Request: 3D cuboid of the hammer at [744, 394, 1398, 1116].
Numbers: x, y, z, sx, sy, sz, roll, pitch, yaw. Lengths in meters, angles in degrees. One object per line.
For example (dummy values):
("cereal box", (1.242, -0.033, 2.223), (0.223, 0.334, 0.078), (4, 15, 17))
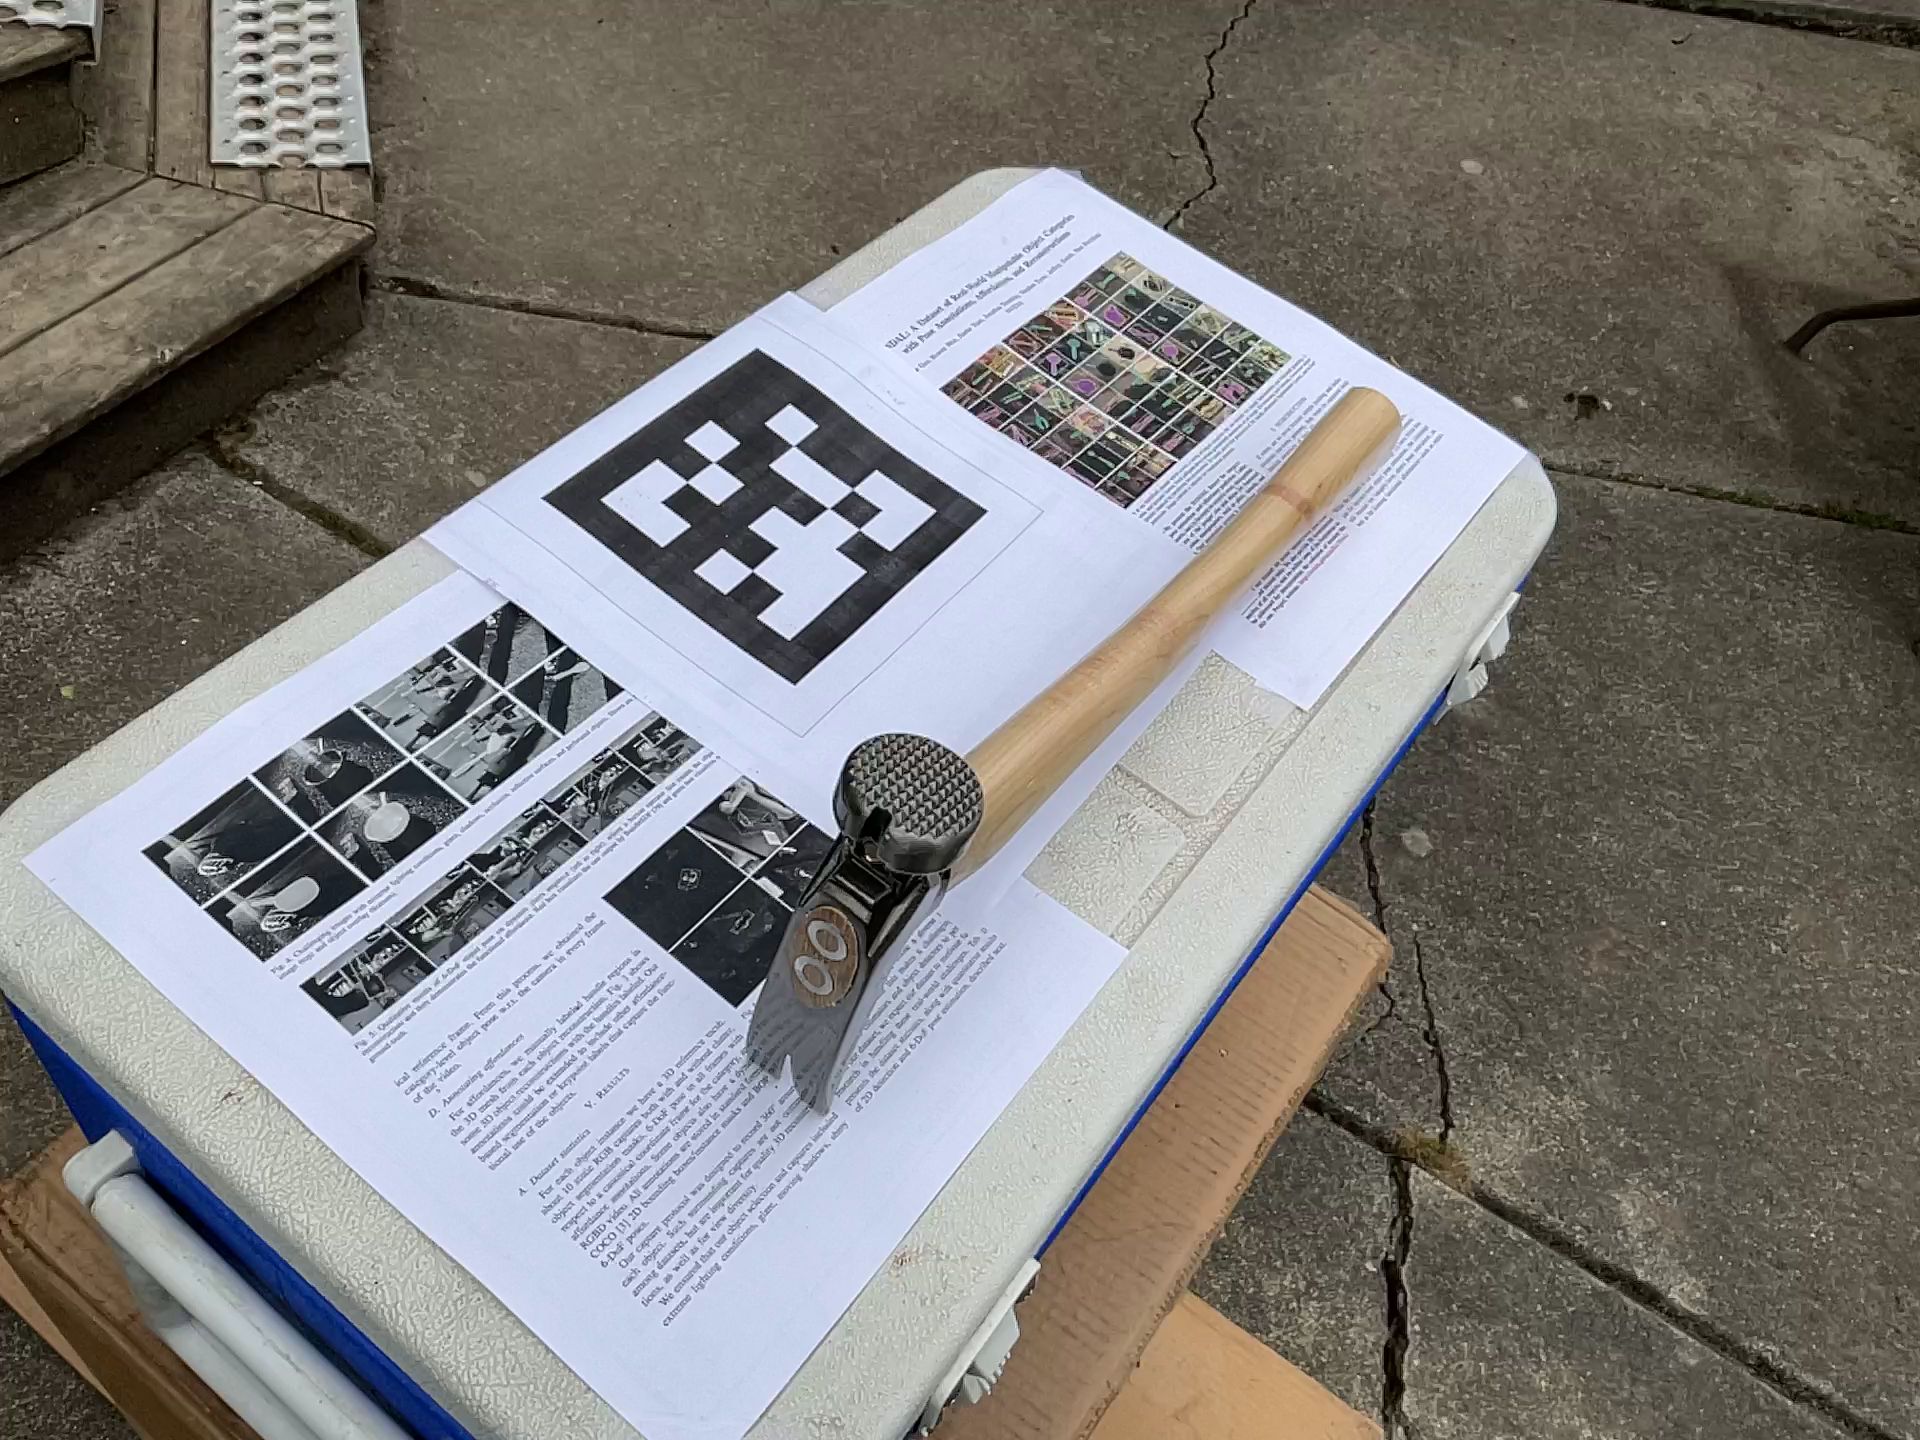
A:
("hammer", (0.067, -0.022, 0.587), (0.038, 0.146, 0.410), (36, 44, 13))
